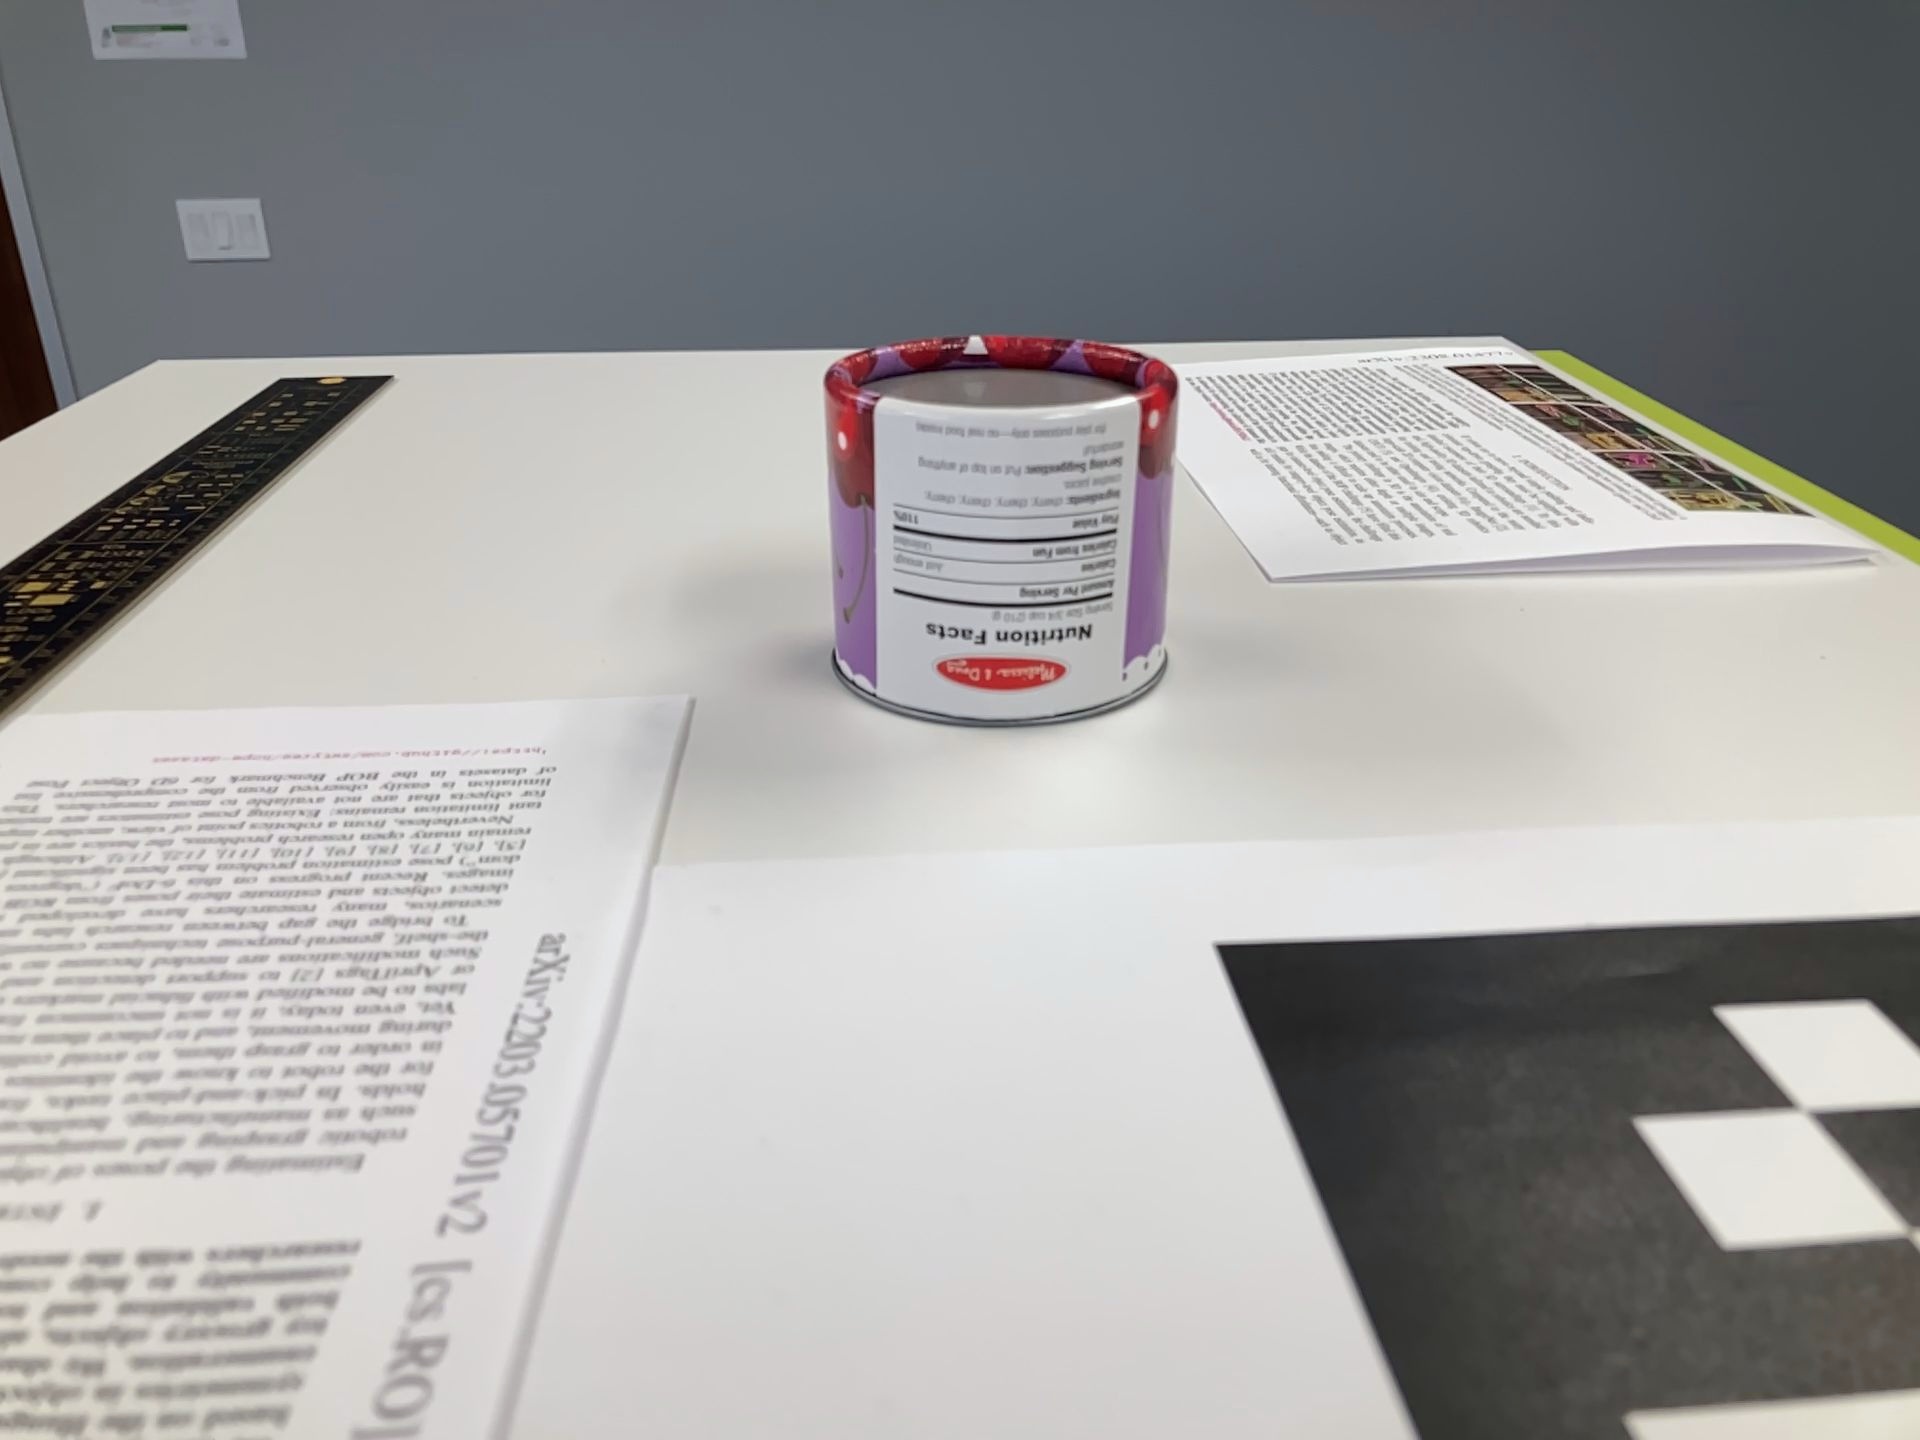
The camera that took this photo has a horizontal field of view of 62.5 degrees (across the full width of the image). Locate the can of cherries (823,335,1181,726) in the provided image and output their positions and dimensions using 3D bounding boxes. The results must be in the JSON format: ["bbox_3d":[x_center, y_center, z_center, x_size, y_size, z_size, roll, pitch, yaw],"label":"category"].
[{"bbox_3d":[0.007,-0.039,0.302,0.071,0.058,0.071,-1,24,0],"label":"can of cherries"}]
